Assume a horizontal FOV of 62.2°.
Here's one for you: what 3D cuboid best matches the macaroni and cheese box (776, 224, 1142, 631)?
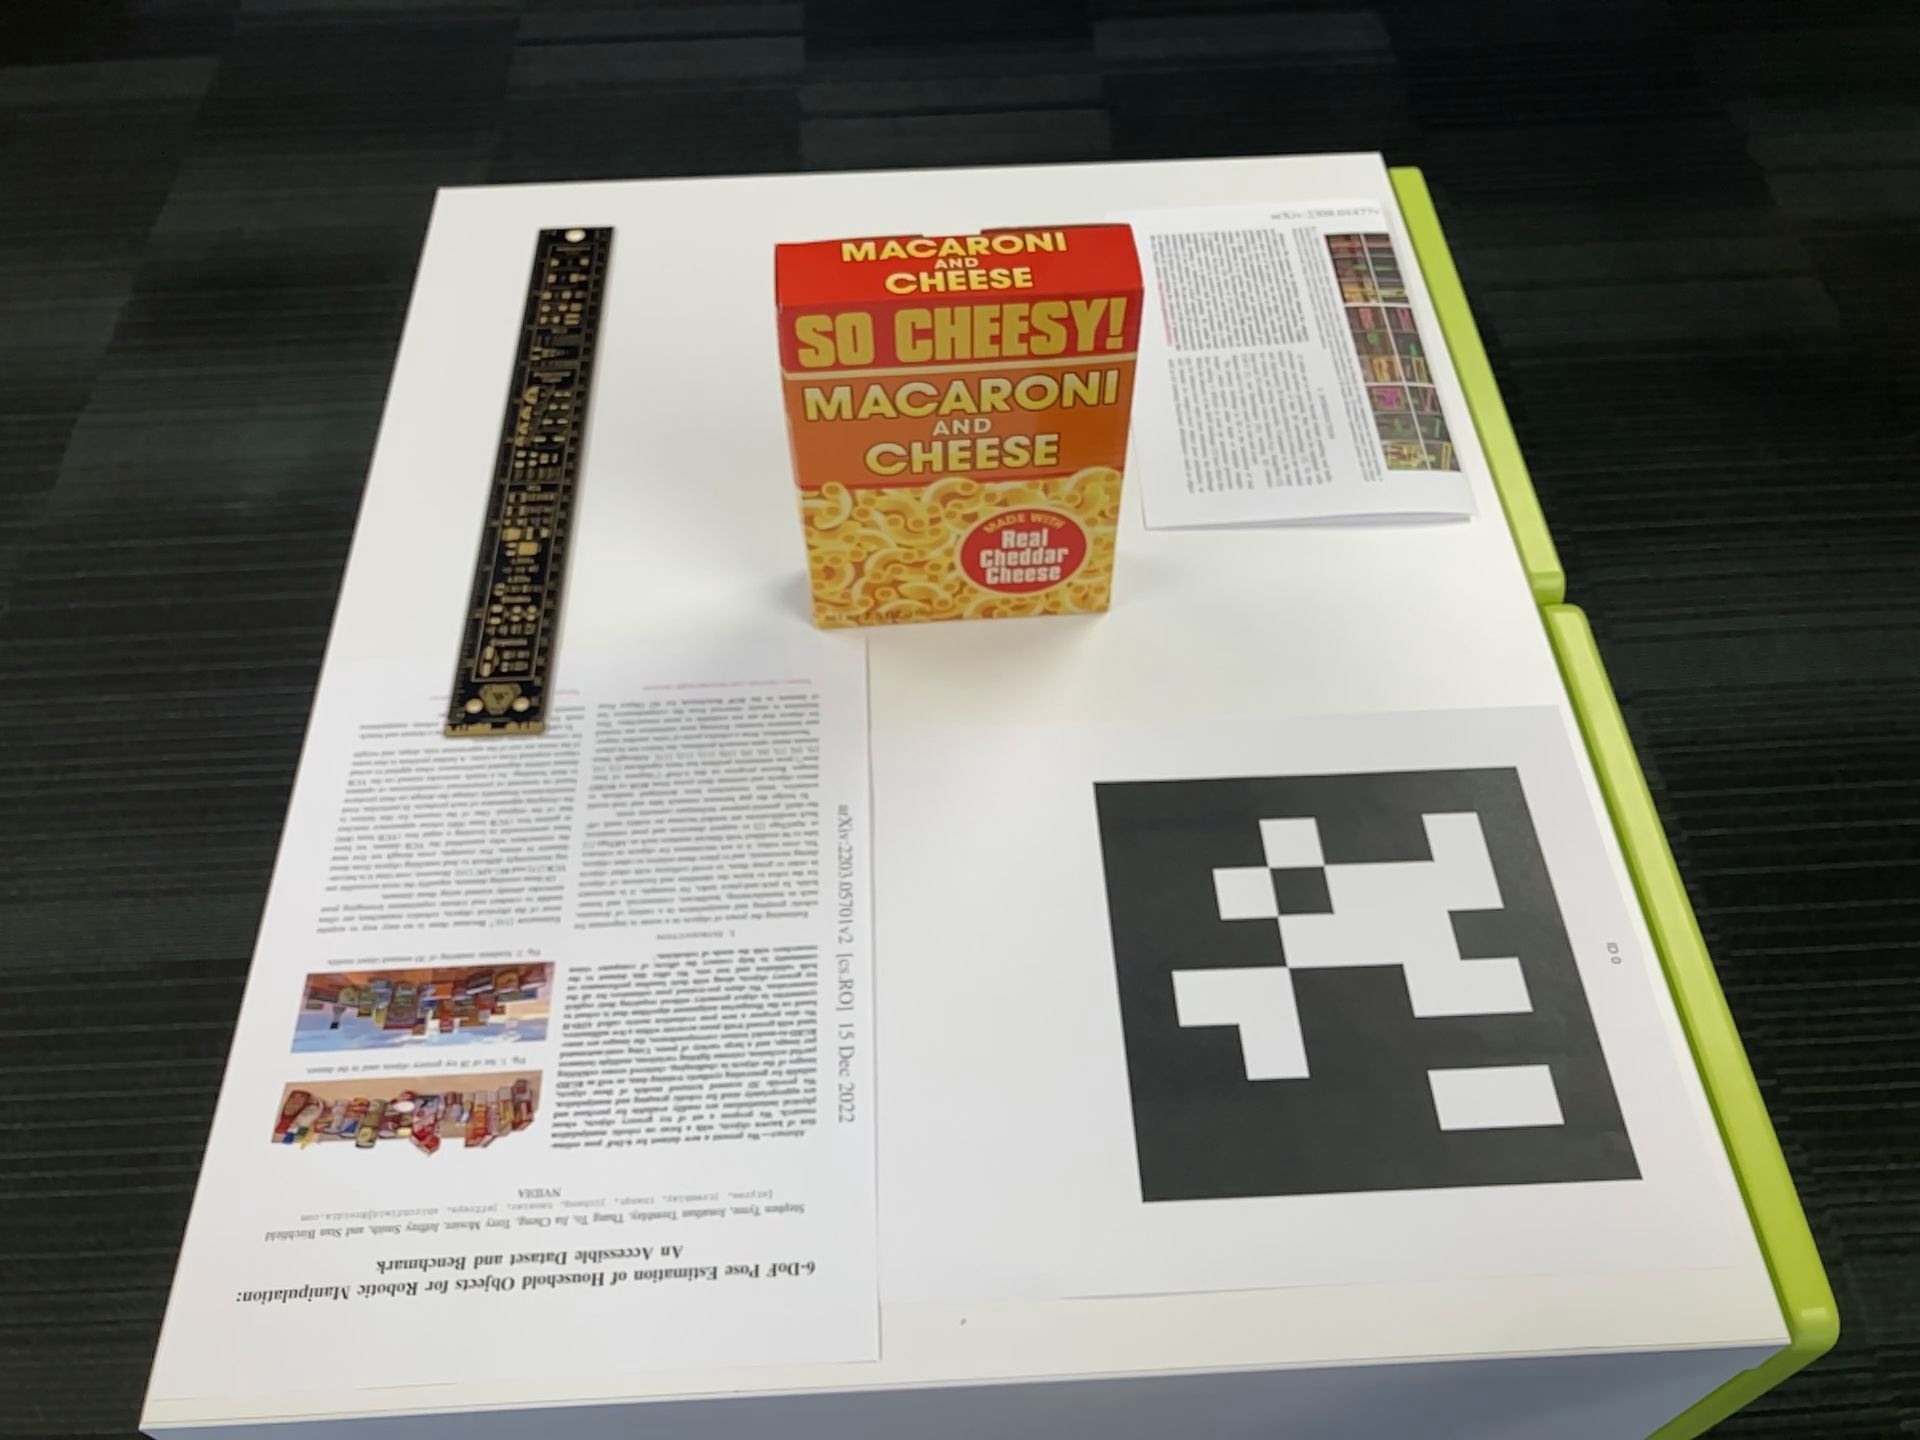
[{"bbox_3d":[-0.001,-0.105,0.602,0.124,0.166,0.040,-5,54,-3],"label":"macaroni and cheese box"}]
